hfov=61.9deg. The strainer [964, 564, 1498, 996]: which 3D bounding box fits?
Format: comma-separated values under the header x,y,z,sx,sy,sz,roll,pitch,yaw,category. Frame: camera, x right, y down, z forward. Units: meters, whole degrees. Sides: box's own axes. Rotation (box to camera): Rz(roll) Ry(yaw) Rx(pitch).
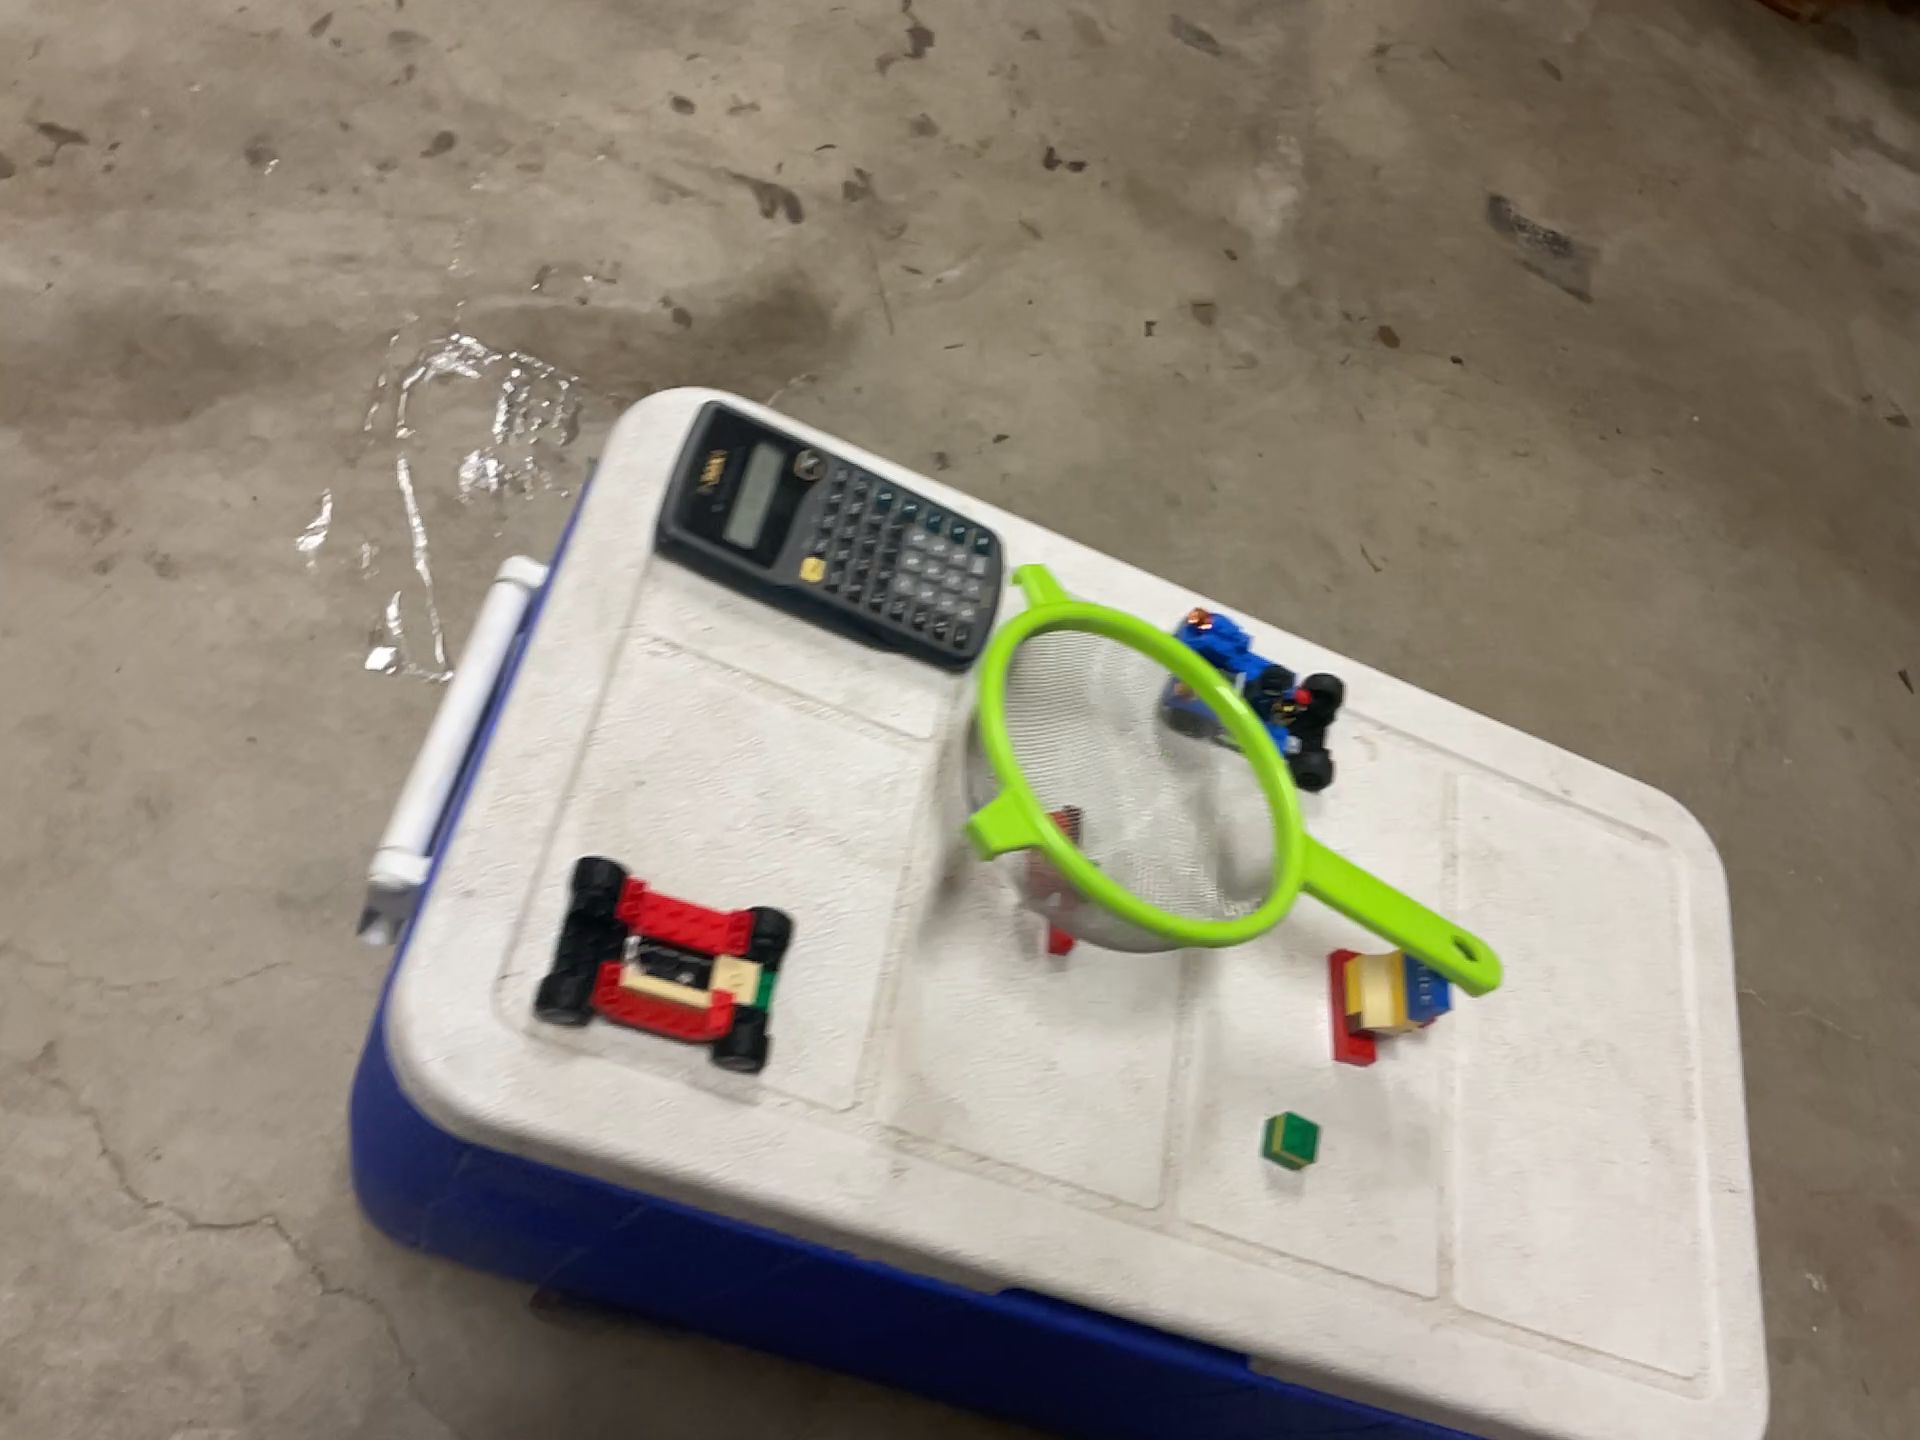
x,y,z,sx,sy,sz,roll,pitch,yaw,category
0.099,0.057,0.637,0.256,0.069,0.152,30,42,-18,strainer
